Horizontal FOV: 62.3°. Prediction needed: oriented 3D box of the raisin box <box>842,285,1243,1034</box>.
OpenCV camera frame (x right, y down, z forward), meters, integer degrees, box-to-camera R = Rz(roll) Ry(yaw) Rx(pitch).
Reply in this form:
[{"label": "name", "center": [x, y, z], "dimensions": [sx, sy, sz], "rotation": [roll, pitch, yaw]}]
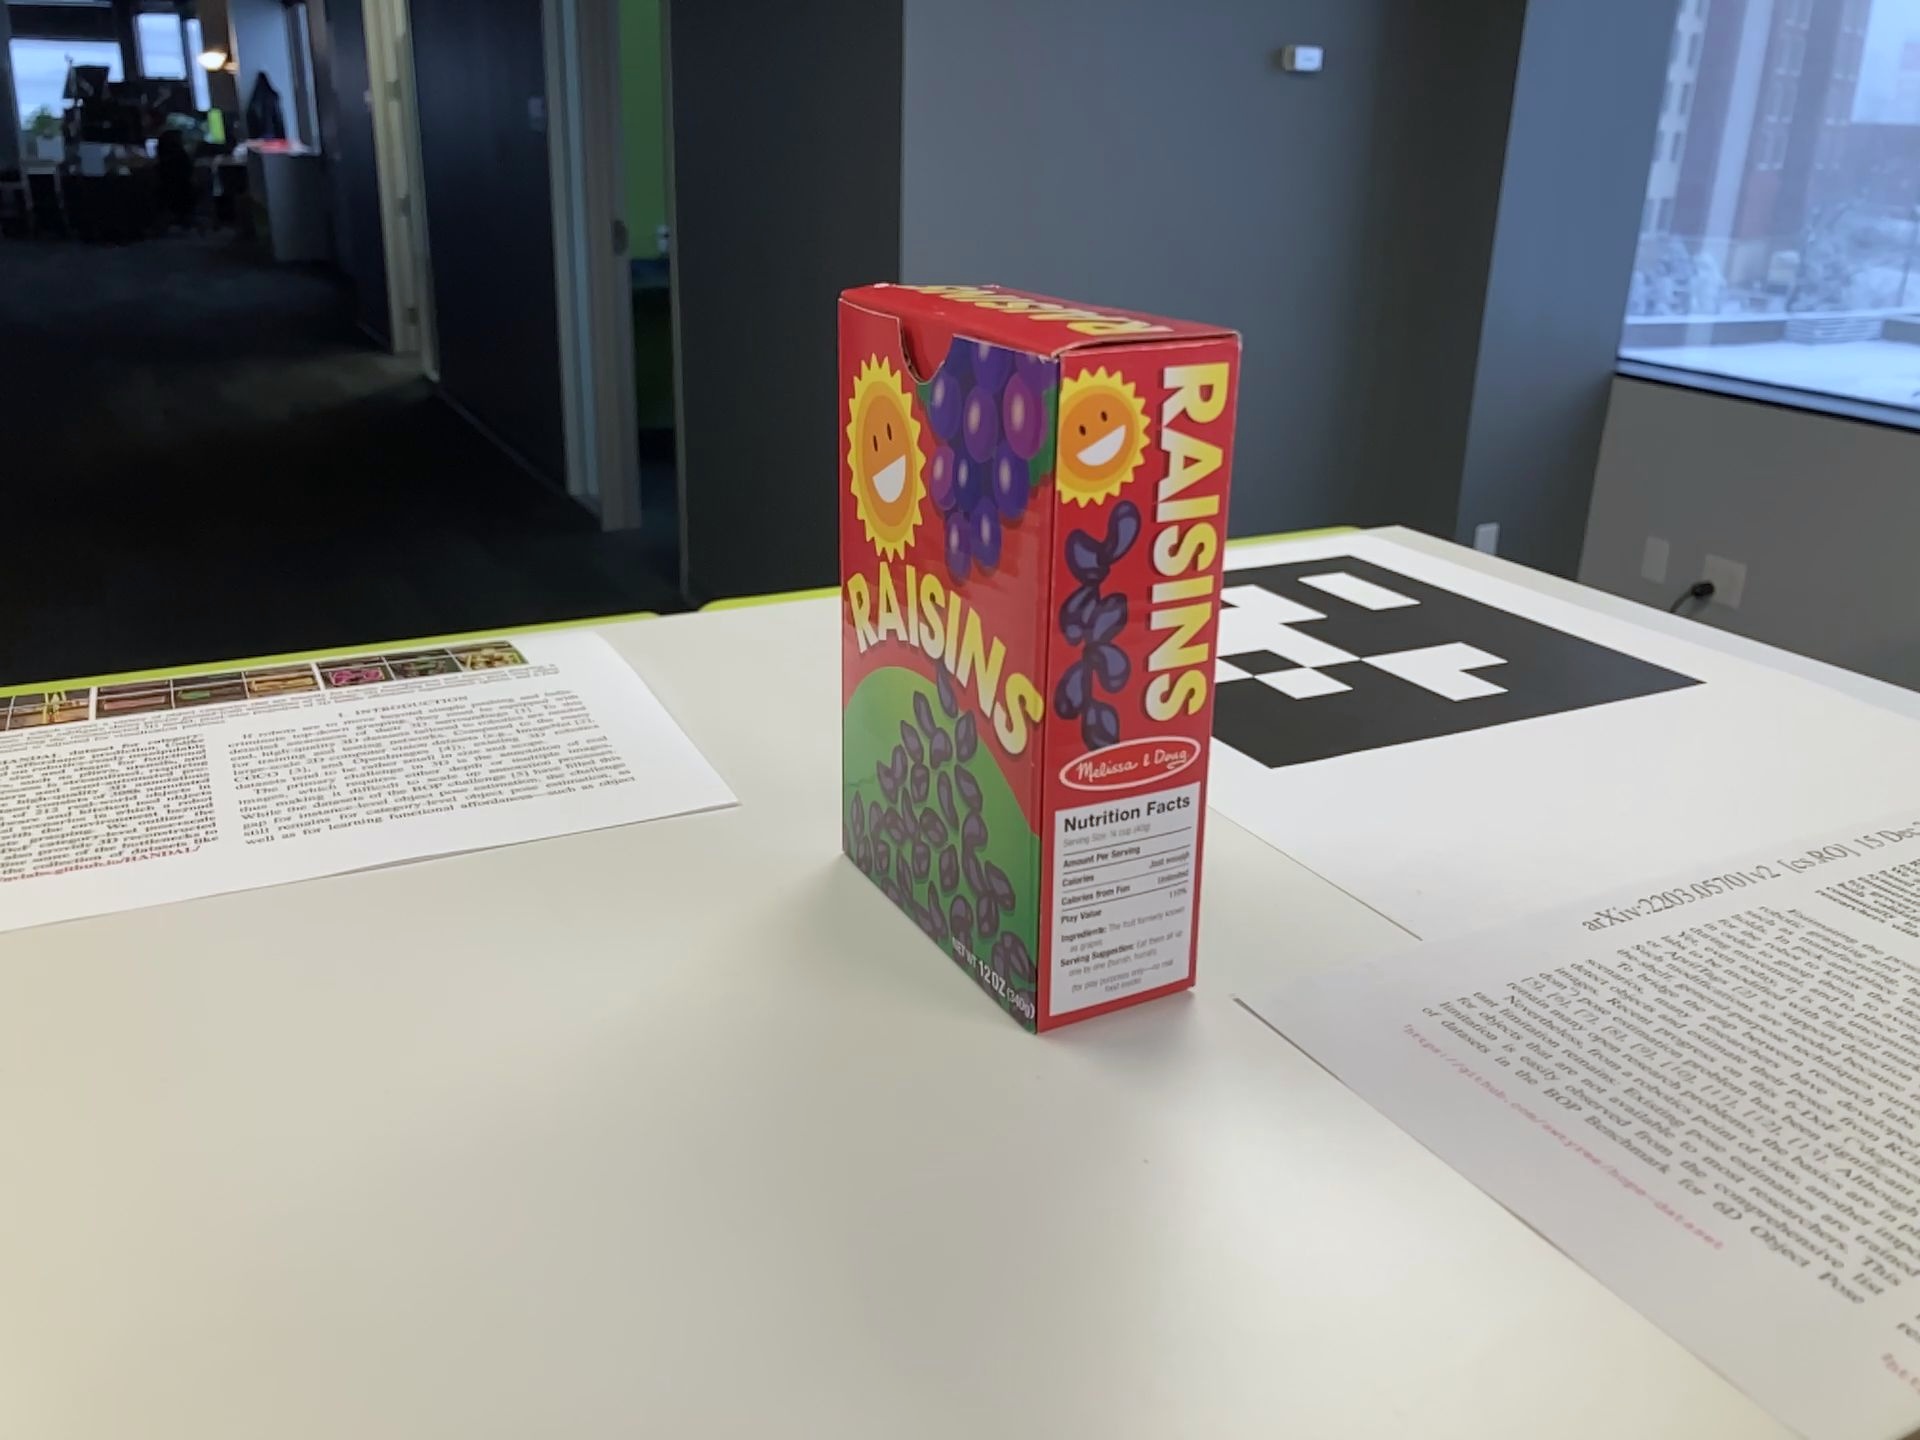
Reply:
[{"label": "raisin box", "center": [0.010, -0.017, 0.304], "dimensions": [0.040, 0.123, 0.086], "rotation": [-9, 22, -25]}]
